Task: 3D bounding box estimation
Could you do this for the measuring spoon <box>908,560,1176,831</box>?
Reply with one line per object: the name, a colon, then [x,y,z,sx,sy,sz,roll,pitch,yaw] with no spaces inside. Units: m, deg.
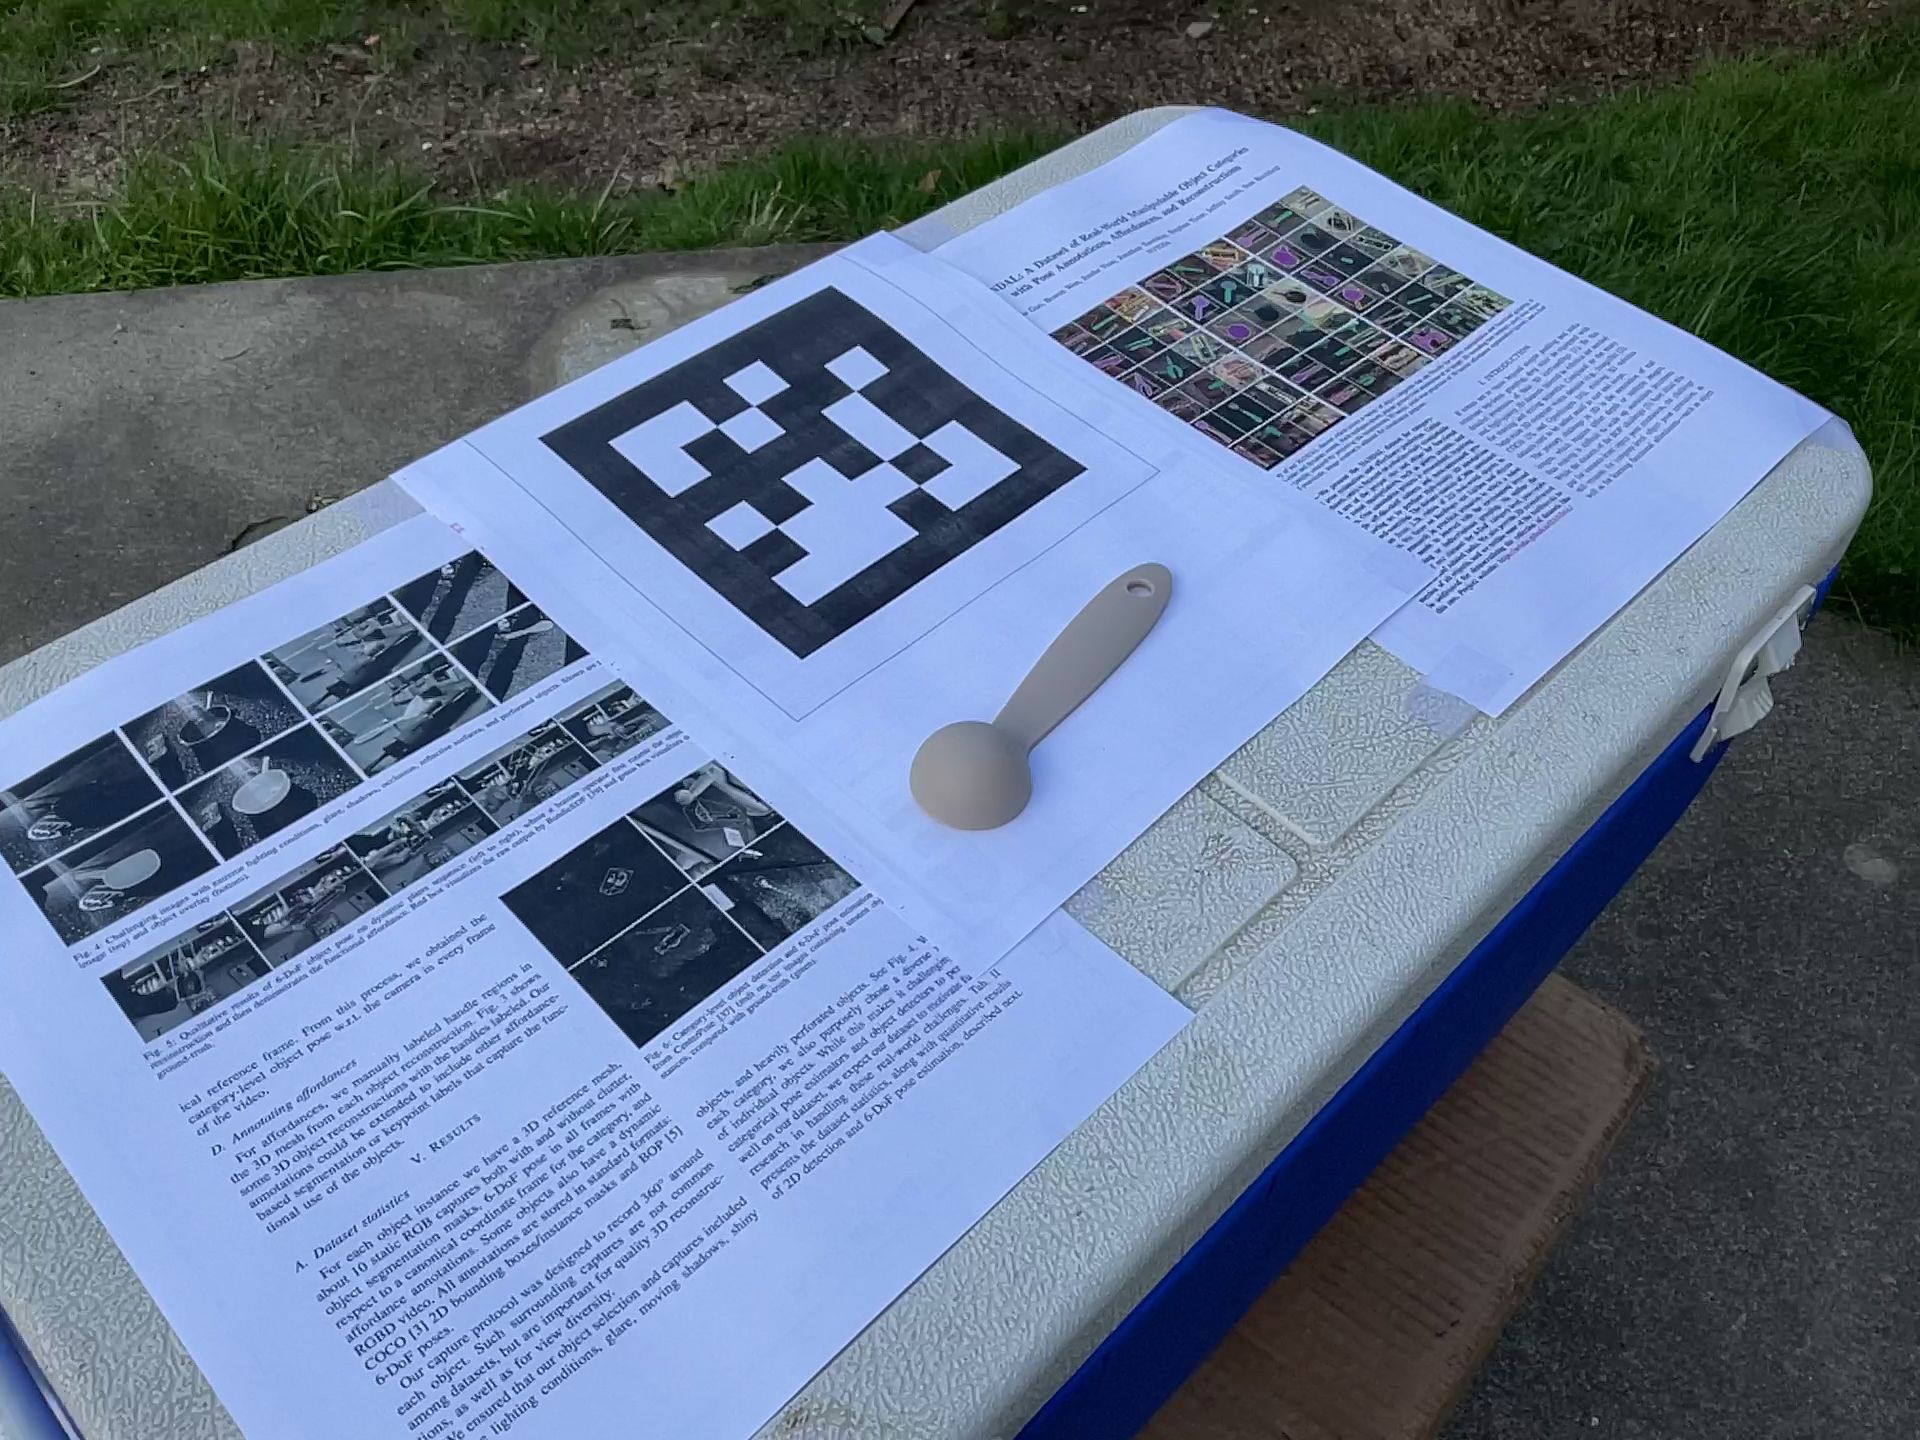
measuring spoon: [0.029,-0.015,0.457,0.034,0.018,0.124,29,53,20]
